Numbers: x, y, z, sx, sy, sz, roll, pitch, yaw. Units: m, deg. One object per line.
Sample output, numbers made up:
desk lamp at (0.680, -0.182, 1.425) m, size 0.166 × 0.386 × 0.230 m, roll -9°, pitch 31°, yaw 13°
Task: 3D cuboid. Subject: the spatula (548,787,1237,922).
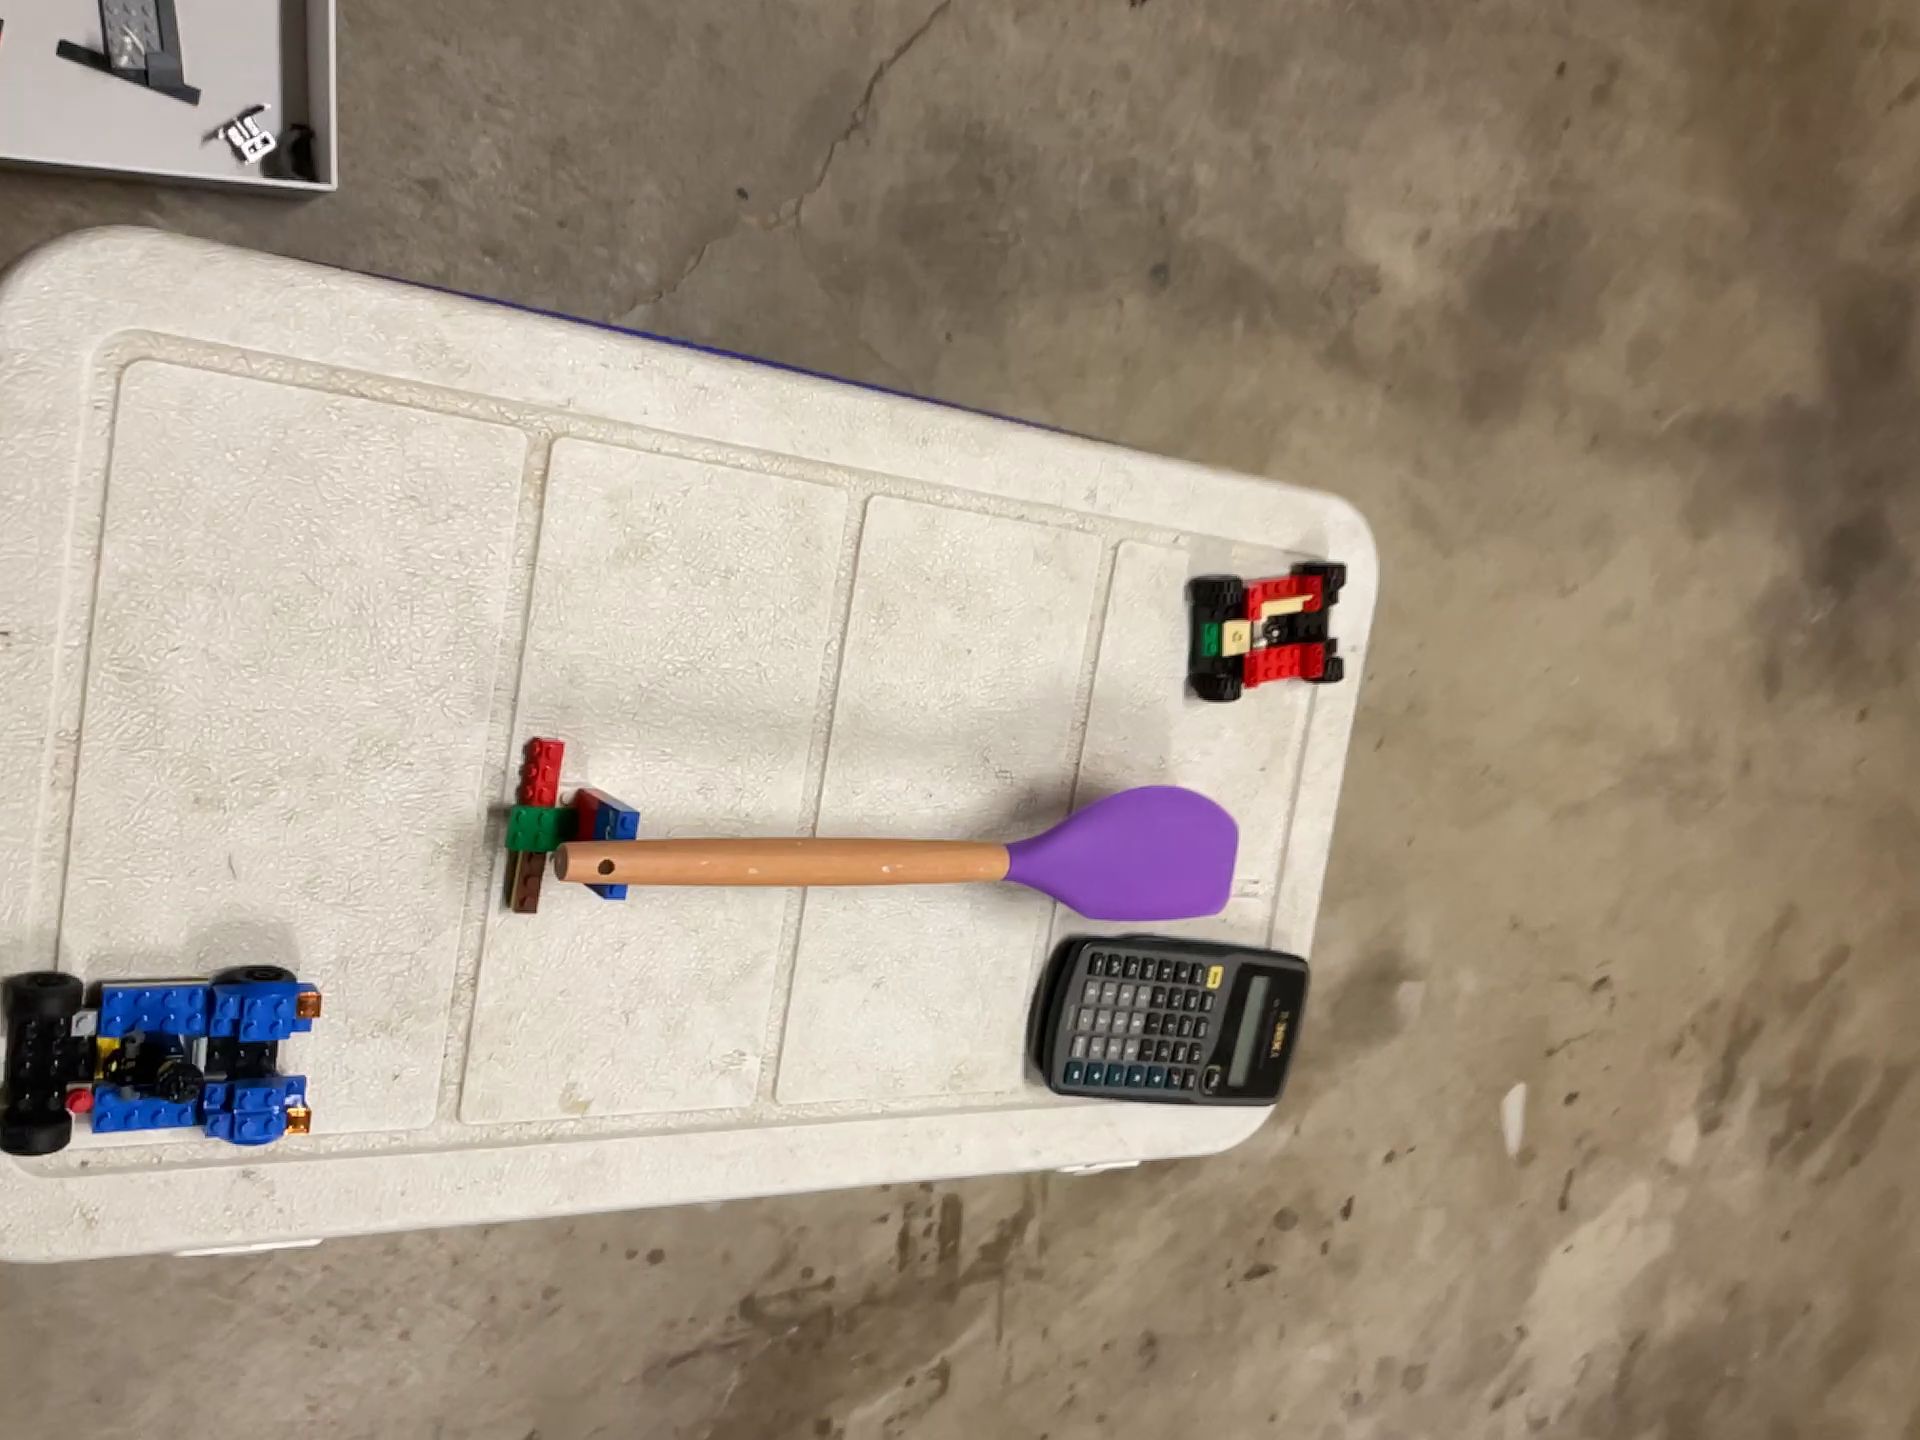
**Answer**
spatula at (-0.007, 0.053, 0.622) m, size 0.316 × 0.018 × 0.060 m, roll 3°, pitch 98°, yaw -35°
